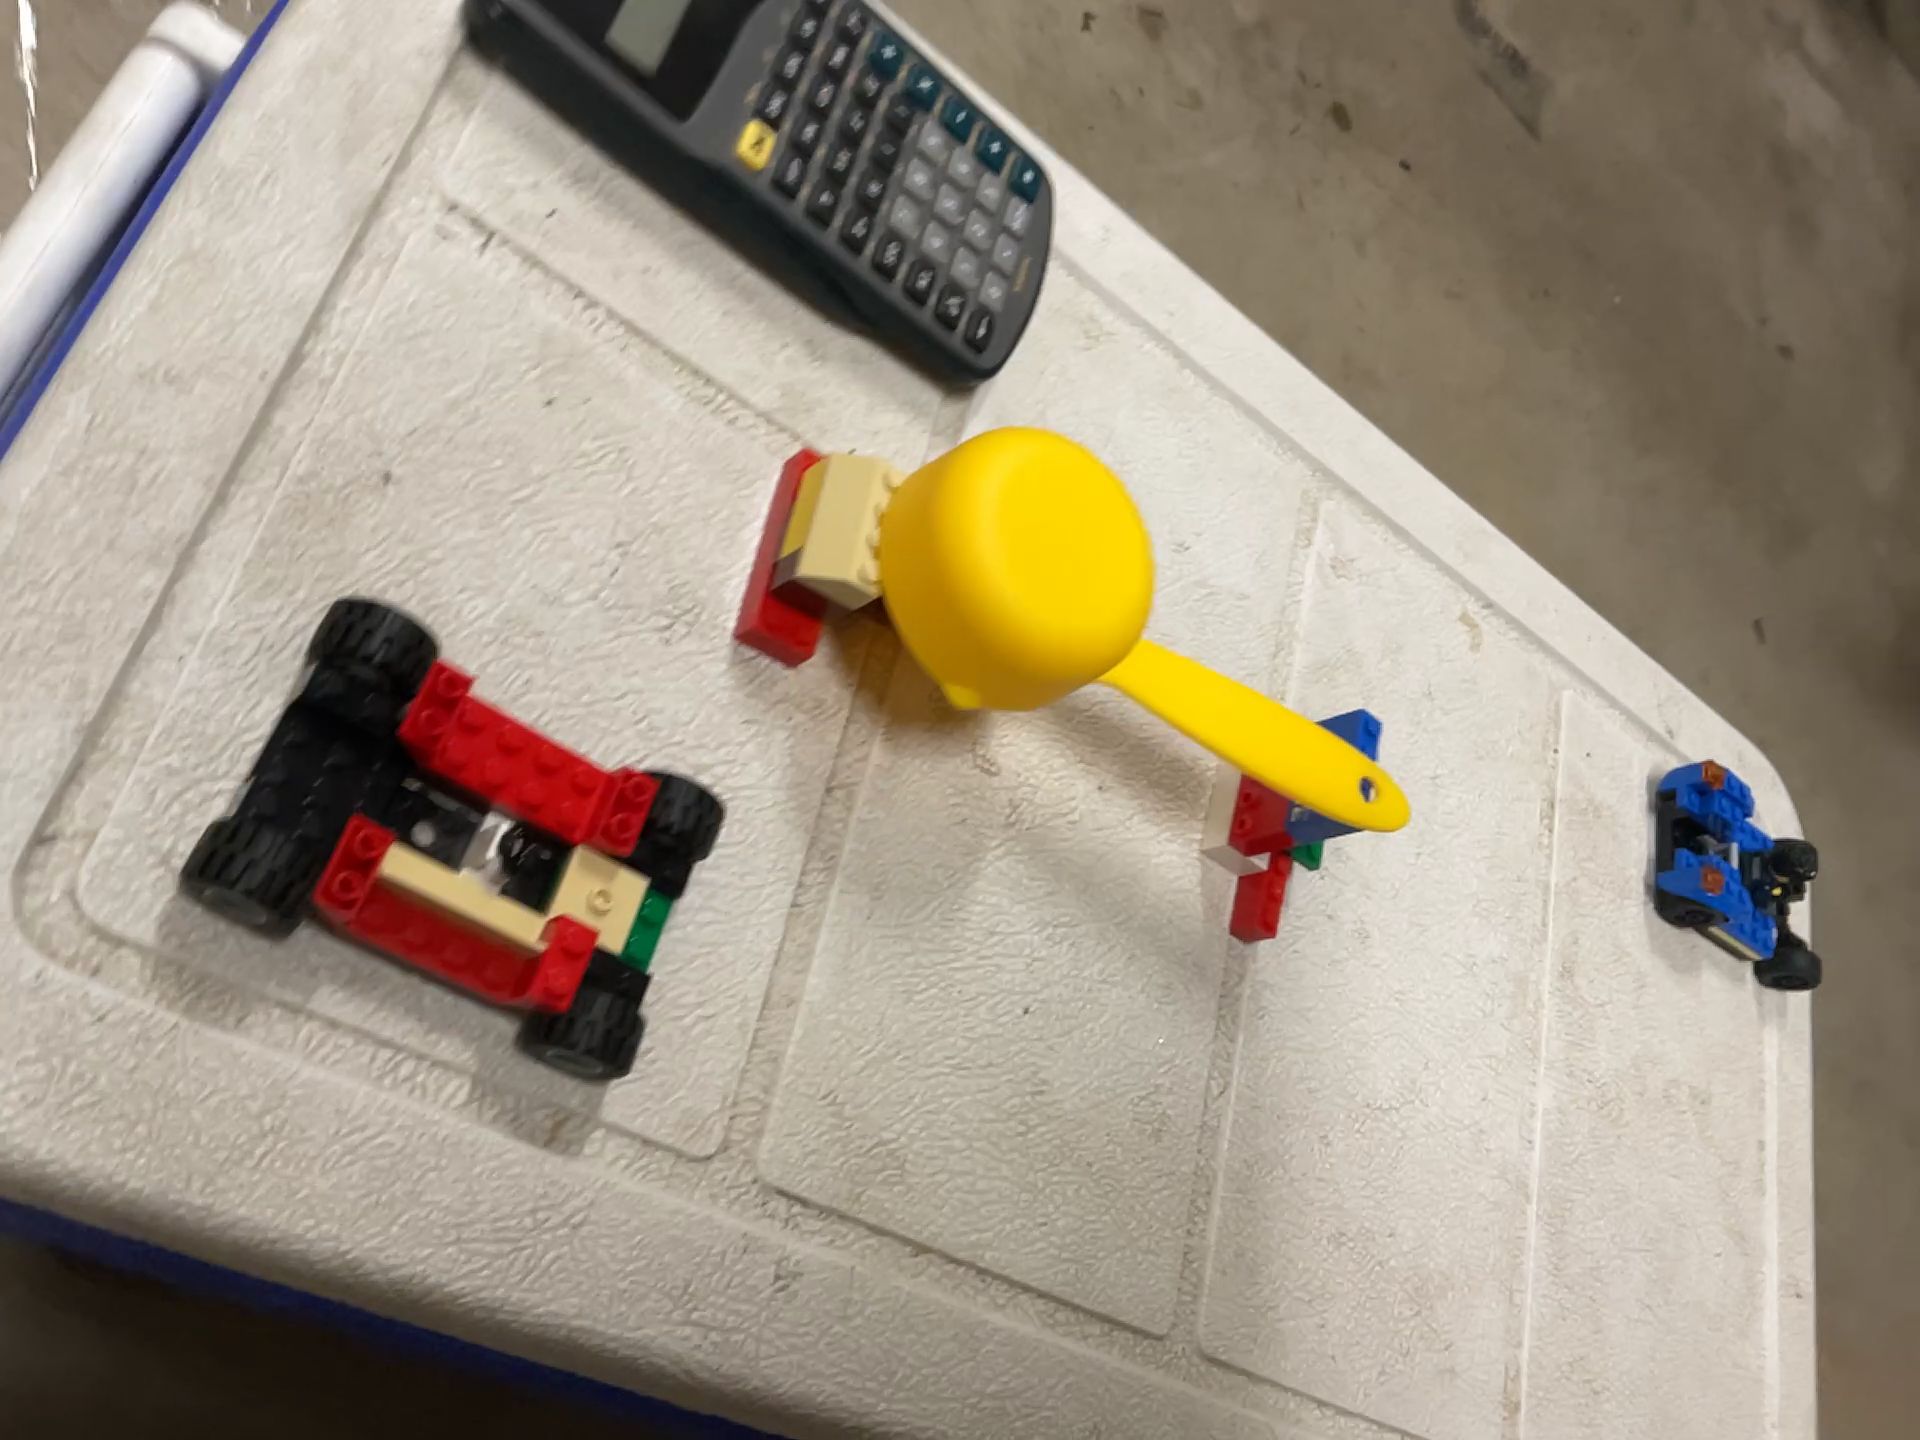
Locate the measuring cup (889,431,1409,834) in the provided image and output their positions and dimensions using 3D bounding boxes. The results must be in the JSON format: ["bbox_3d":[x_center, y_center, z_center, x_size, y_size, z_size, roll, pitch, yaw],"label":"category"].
[{"bbox_3d":[0.055,-0.013,0.365,0.156,0.029,0.062,29,60,-23],"label":"measuring cup"}]
